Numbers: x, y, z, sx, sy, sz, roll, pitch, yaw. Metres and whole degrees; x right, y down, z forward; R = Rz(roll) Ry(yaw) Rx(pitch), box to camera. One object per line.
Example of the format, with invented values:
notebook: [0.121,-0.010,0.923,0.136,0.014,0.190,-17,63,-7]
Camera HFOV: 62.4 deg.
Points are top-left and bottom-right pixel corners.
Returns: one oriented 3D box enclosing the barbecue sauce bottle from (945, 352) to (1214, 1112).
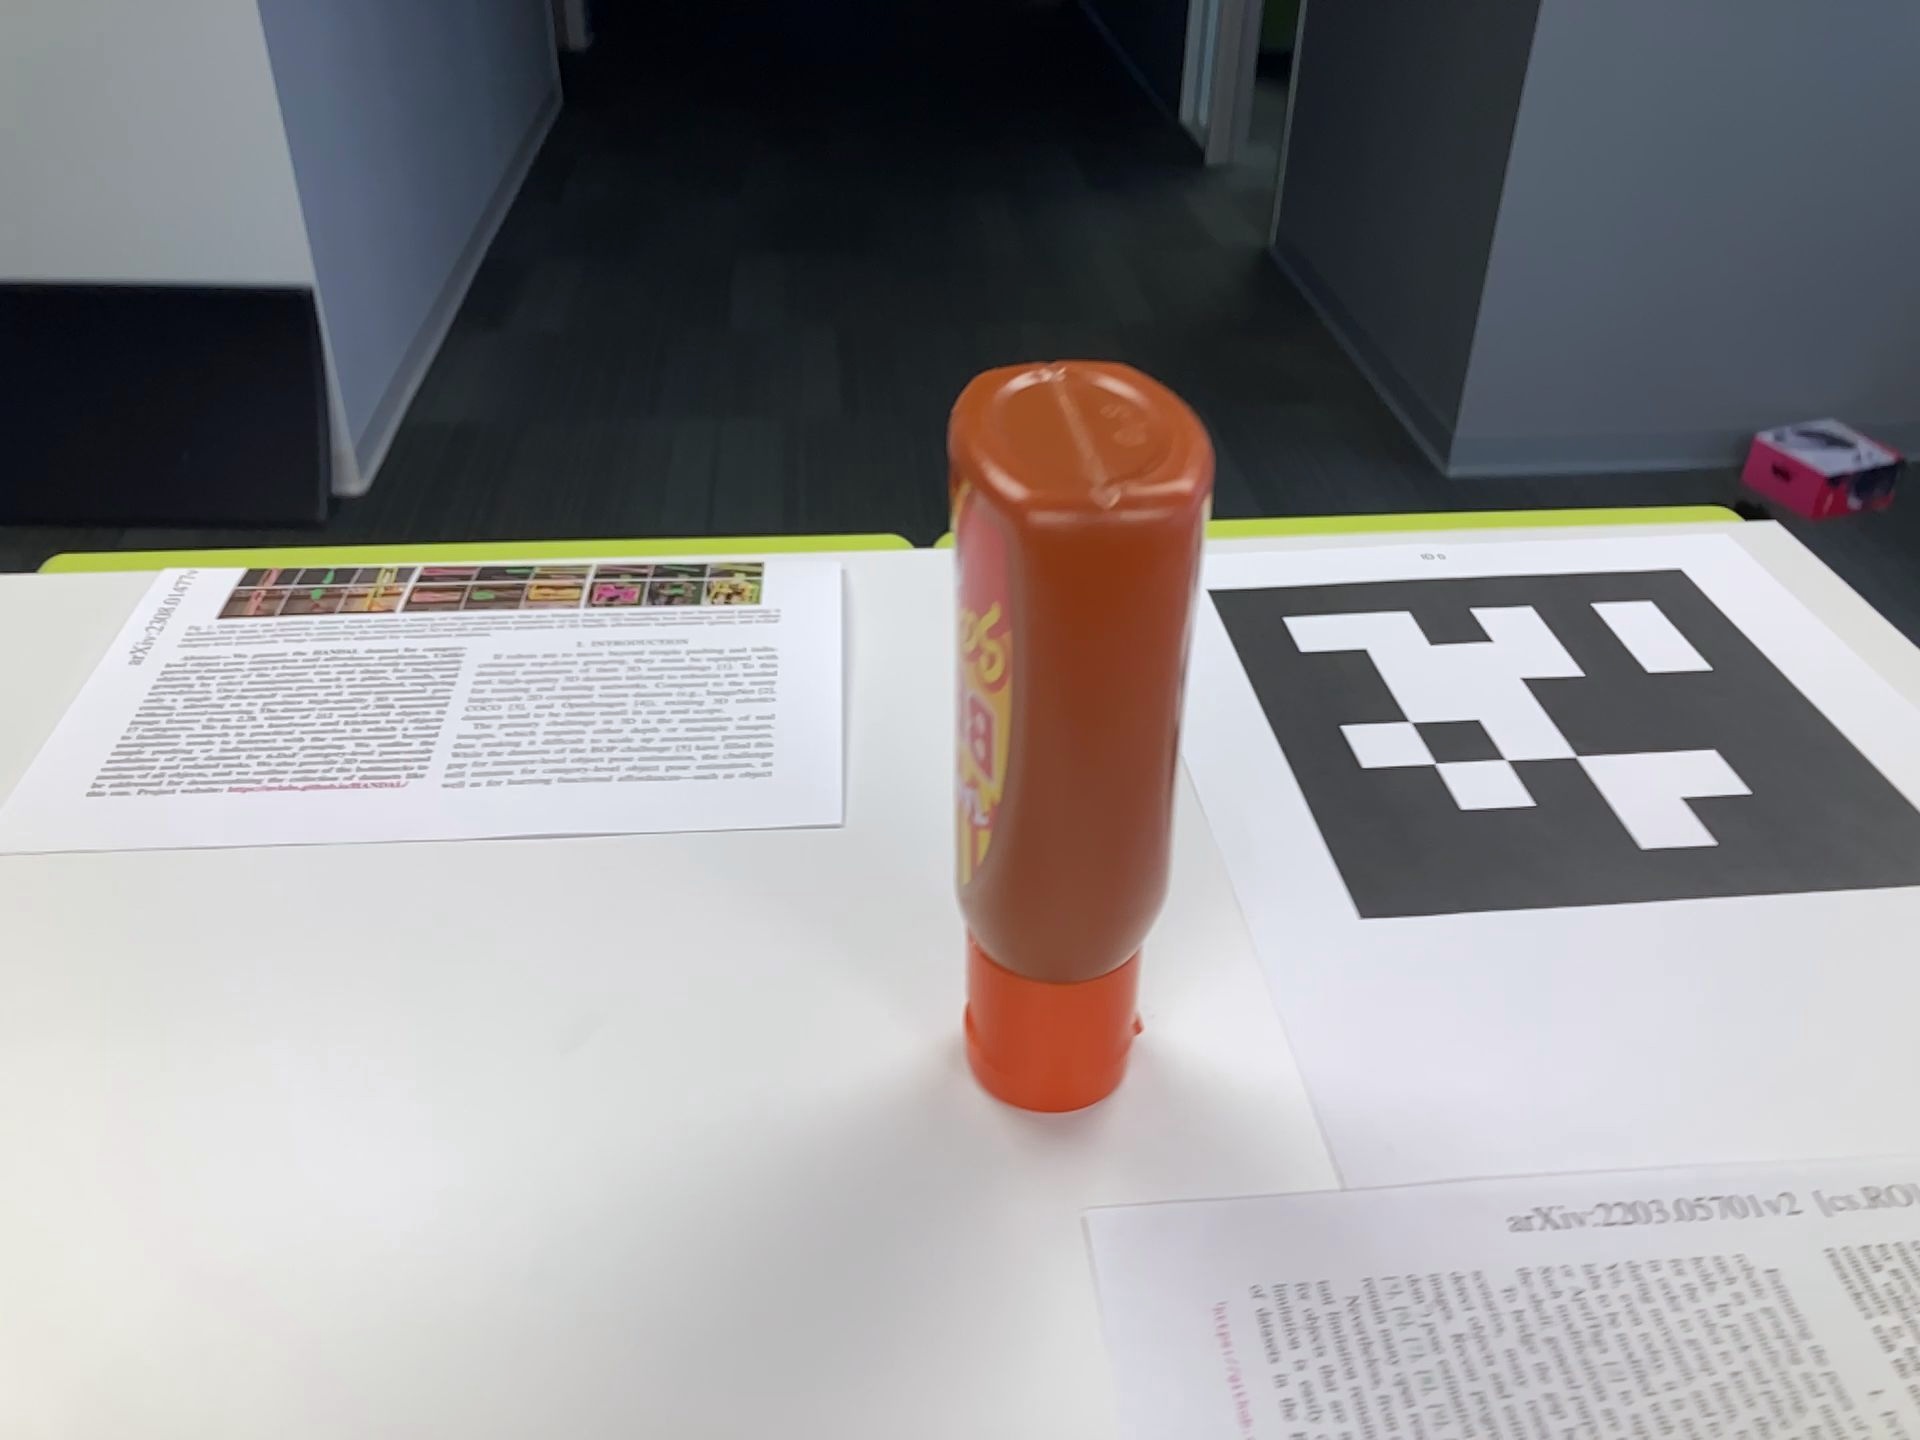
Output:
barbecue sauce bottle: [0.019,0.010,0.303,0.043,0.148,0.065,-4,34,-6]
